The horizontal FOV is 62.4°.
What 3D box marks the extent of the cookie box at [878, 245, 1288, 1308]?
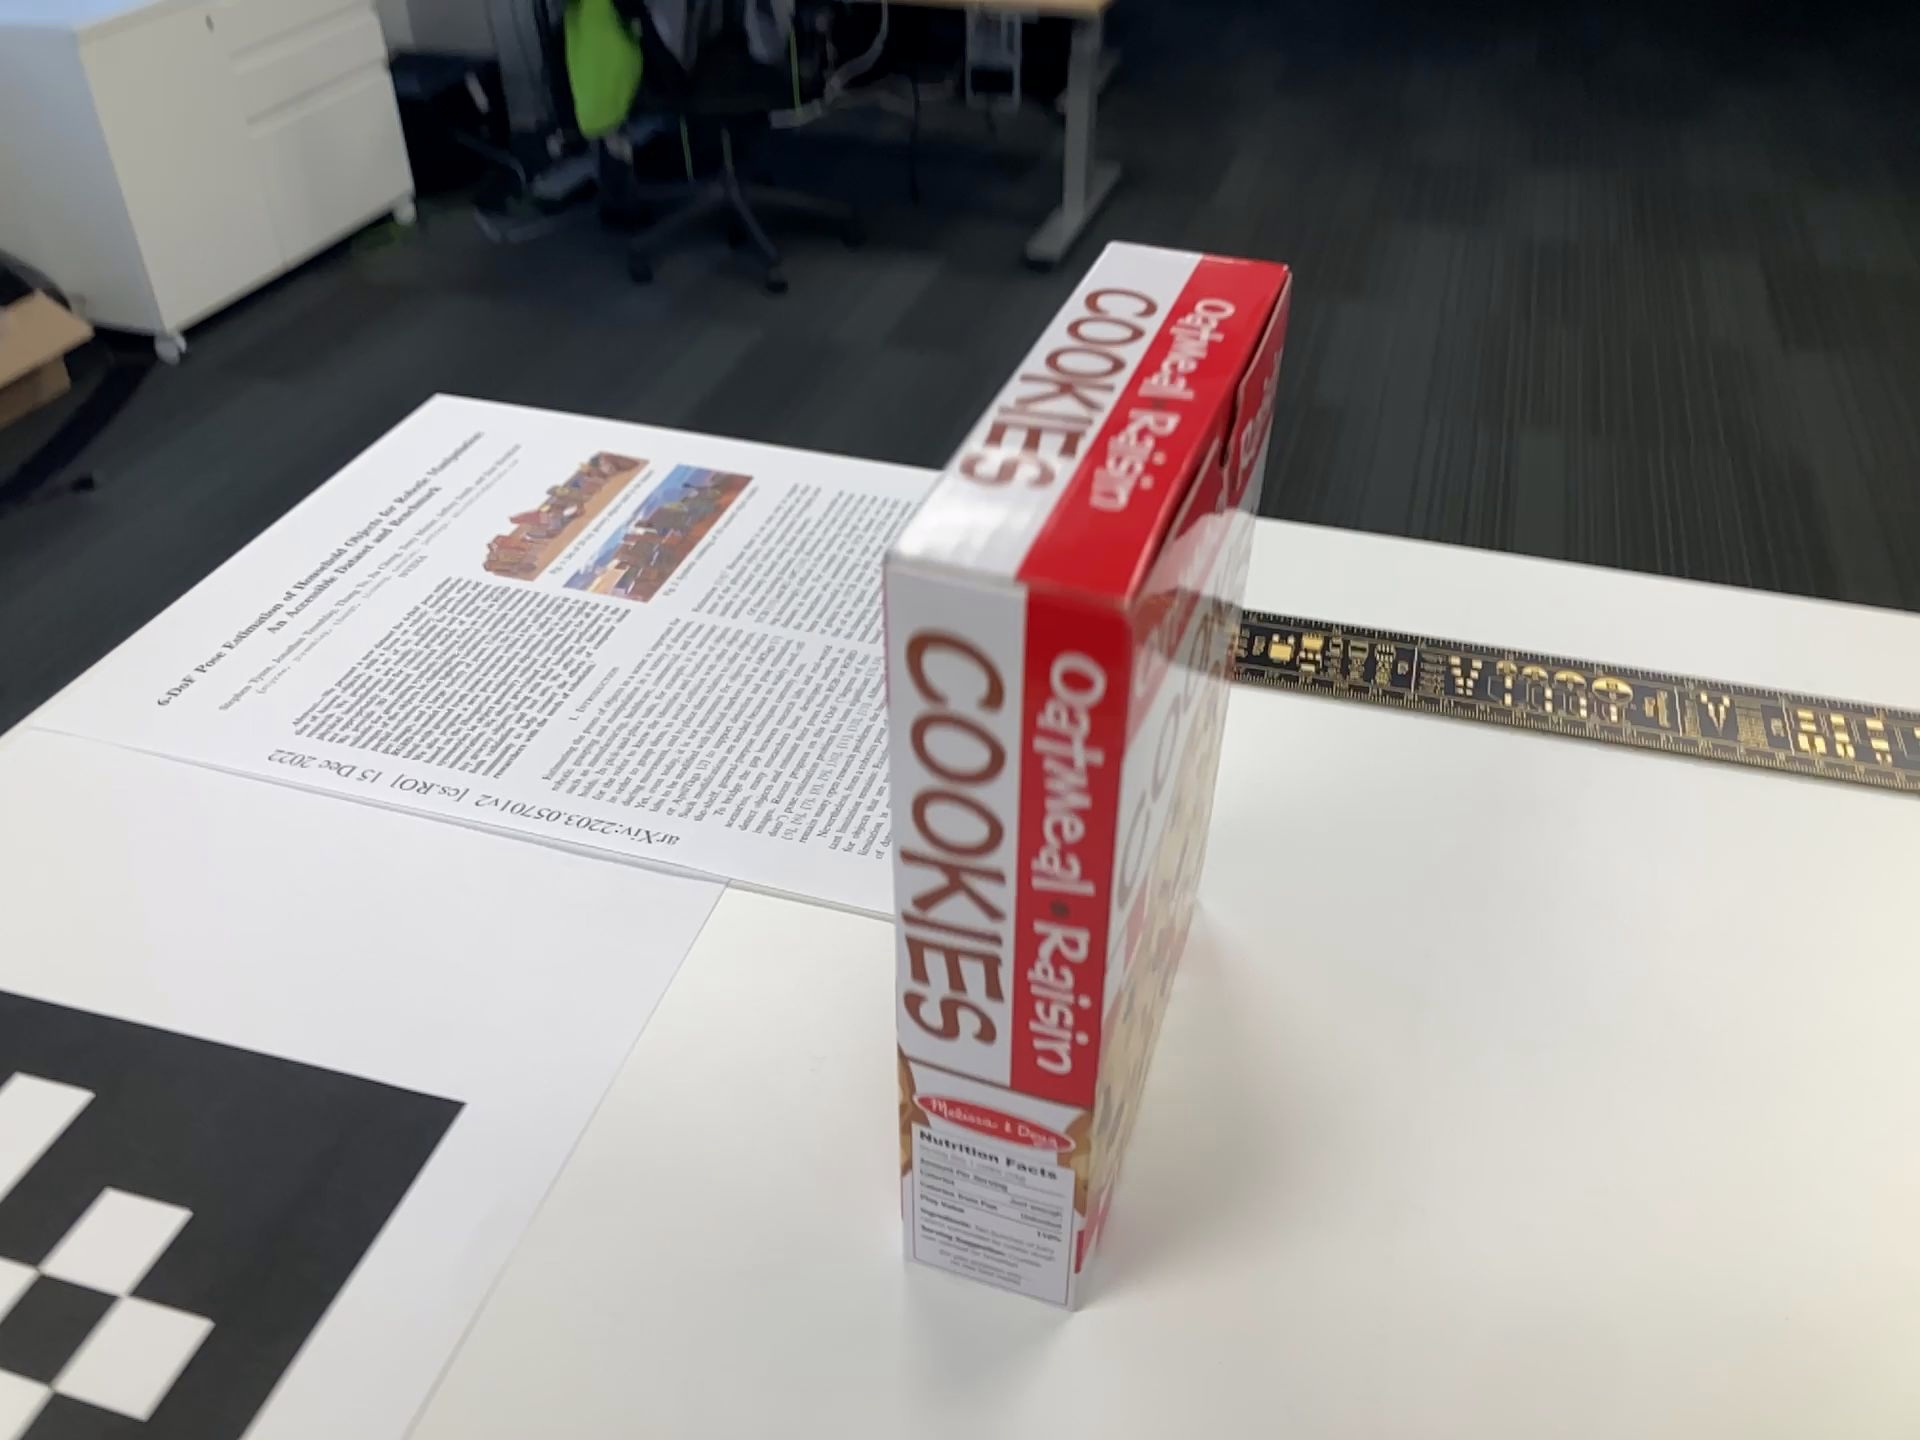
[{"bbox_3d":[0.026,0.011,0.307,0.040,0.167,0.123,12,39,14],"label":"cookie box"}]
